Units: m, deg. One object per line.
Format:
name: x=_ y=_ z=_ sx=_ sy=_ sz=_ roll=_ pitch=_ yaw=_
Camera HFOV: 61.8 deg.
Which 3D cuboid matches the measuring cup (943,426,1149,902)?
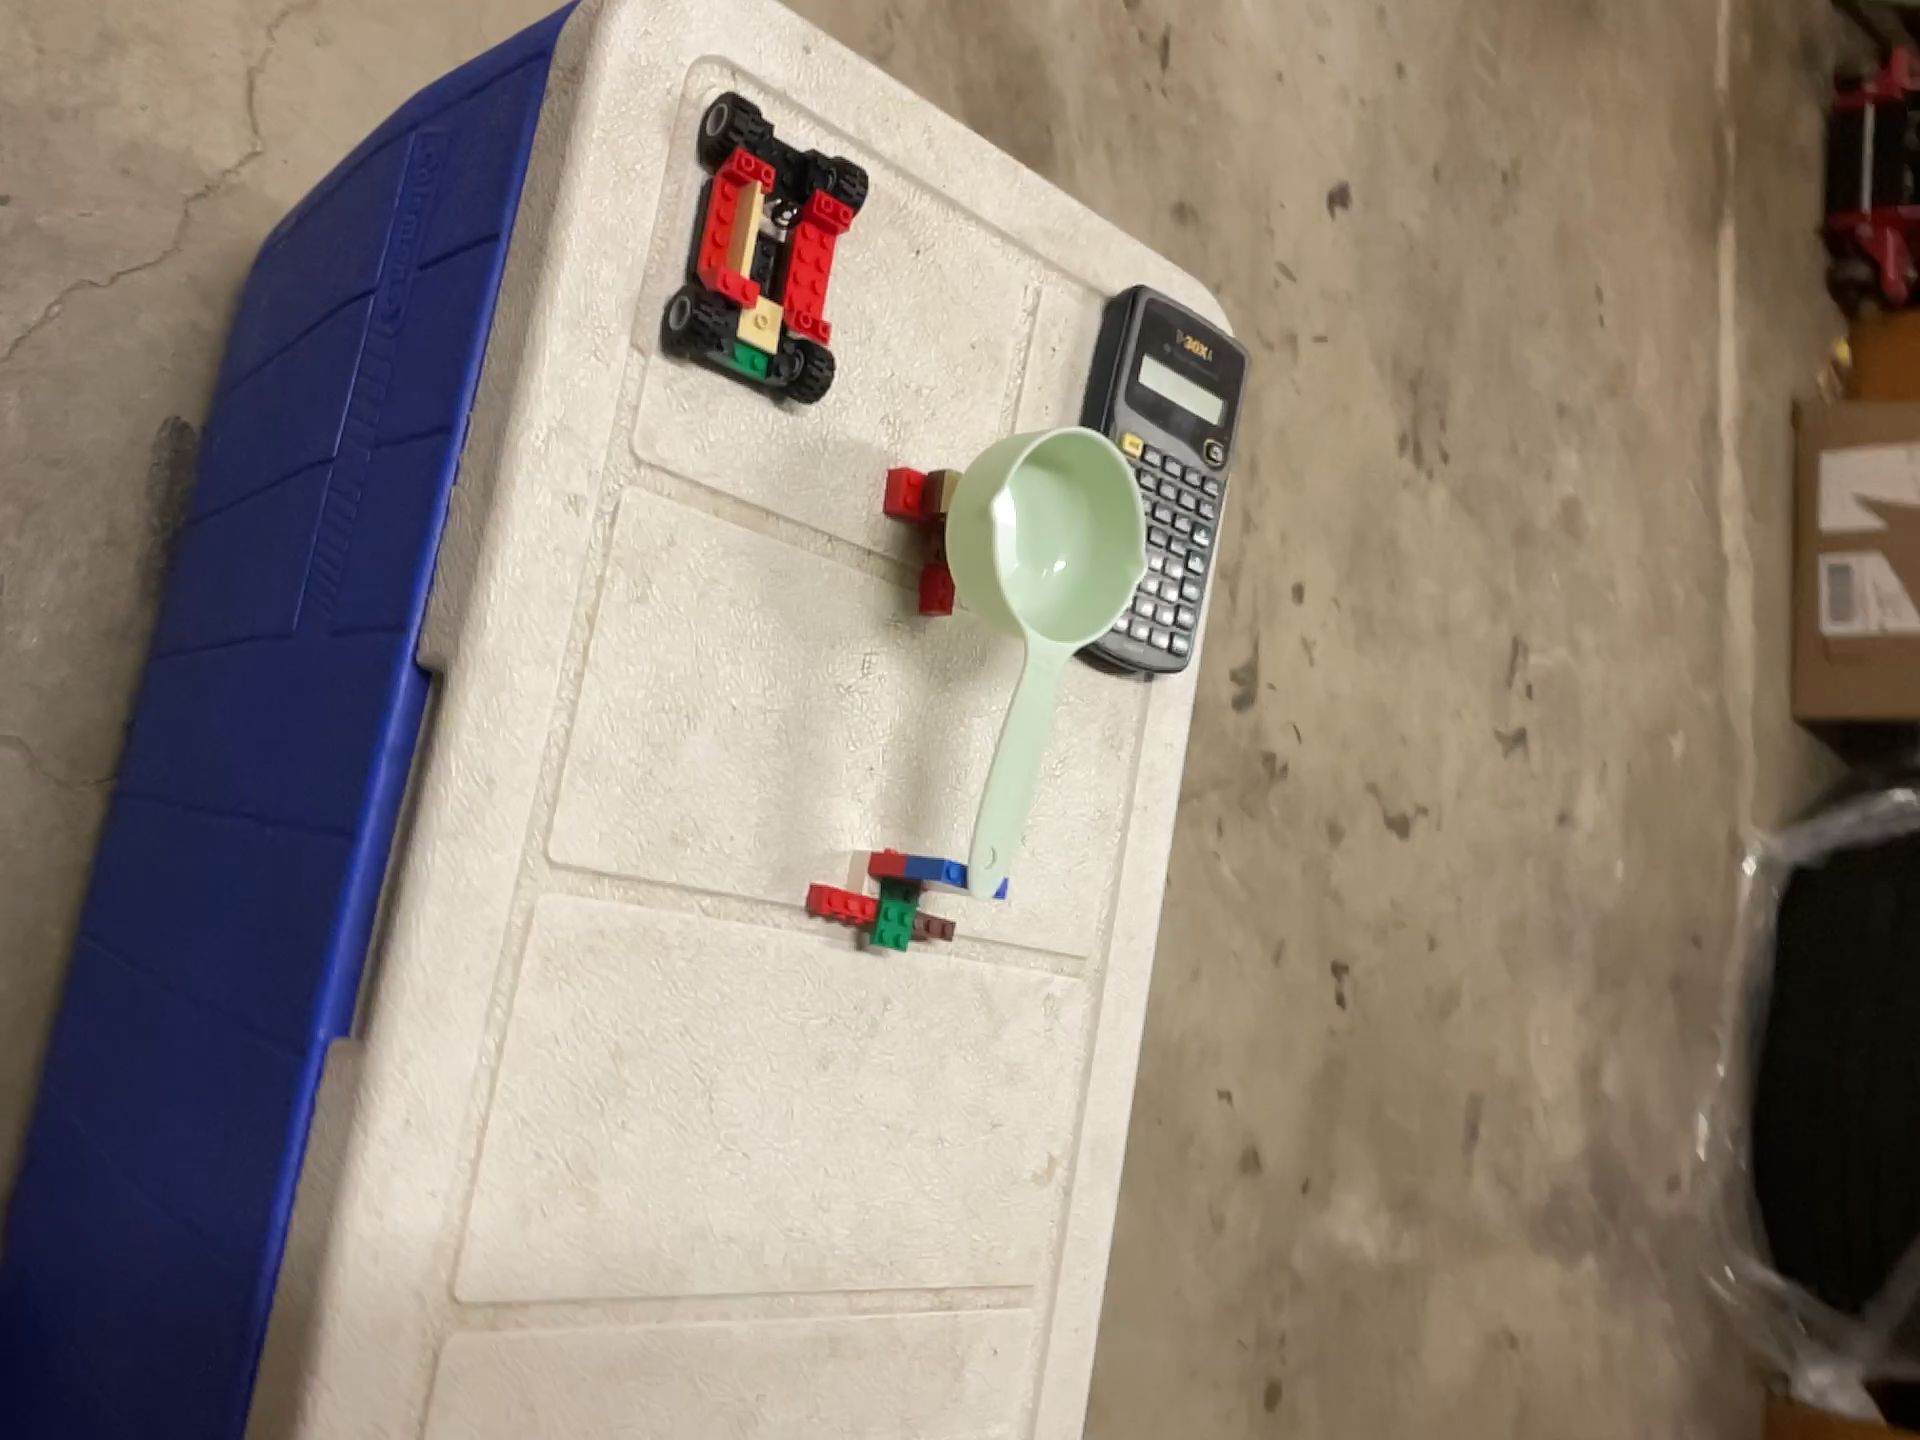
measuring cup: x=0.018 y=-0.021 z=0.568 sx=0.083 sy=0.038 sz=0.167 roll=15 pitch=87 yaw=-44
